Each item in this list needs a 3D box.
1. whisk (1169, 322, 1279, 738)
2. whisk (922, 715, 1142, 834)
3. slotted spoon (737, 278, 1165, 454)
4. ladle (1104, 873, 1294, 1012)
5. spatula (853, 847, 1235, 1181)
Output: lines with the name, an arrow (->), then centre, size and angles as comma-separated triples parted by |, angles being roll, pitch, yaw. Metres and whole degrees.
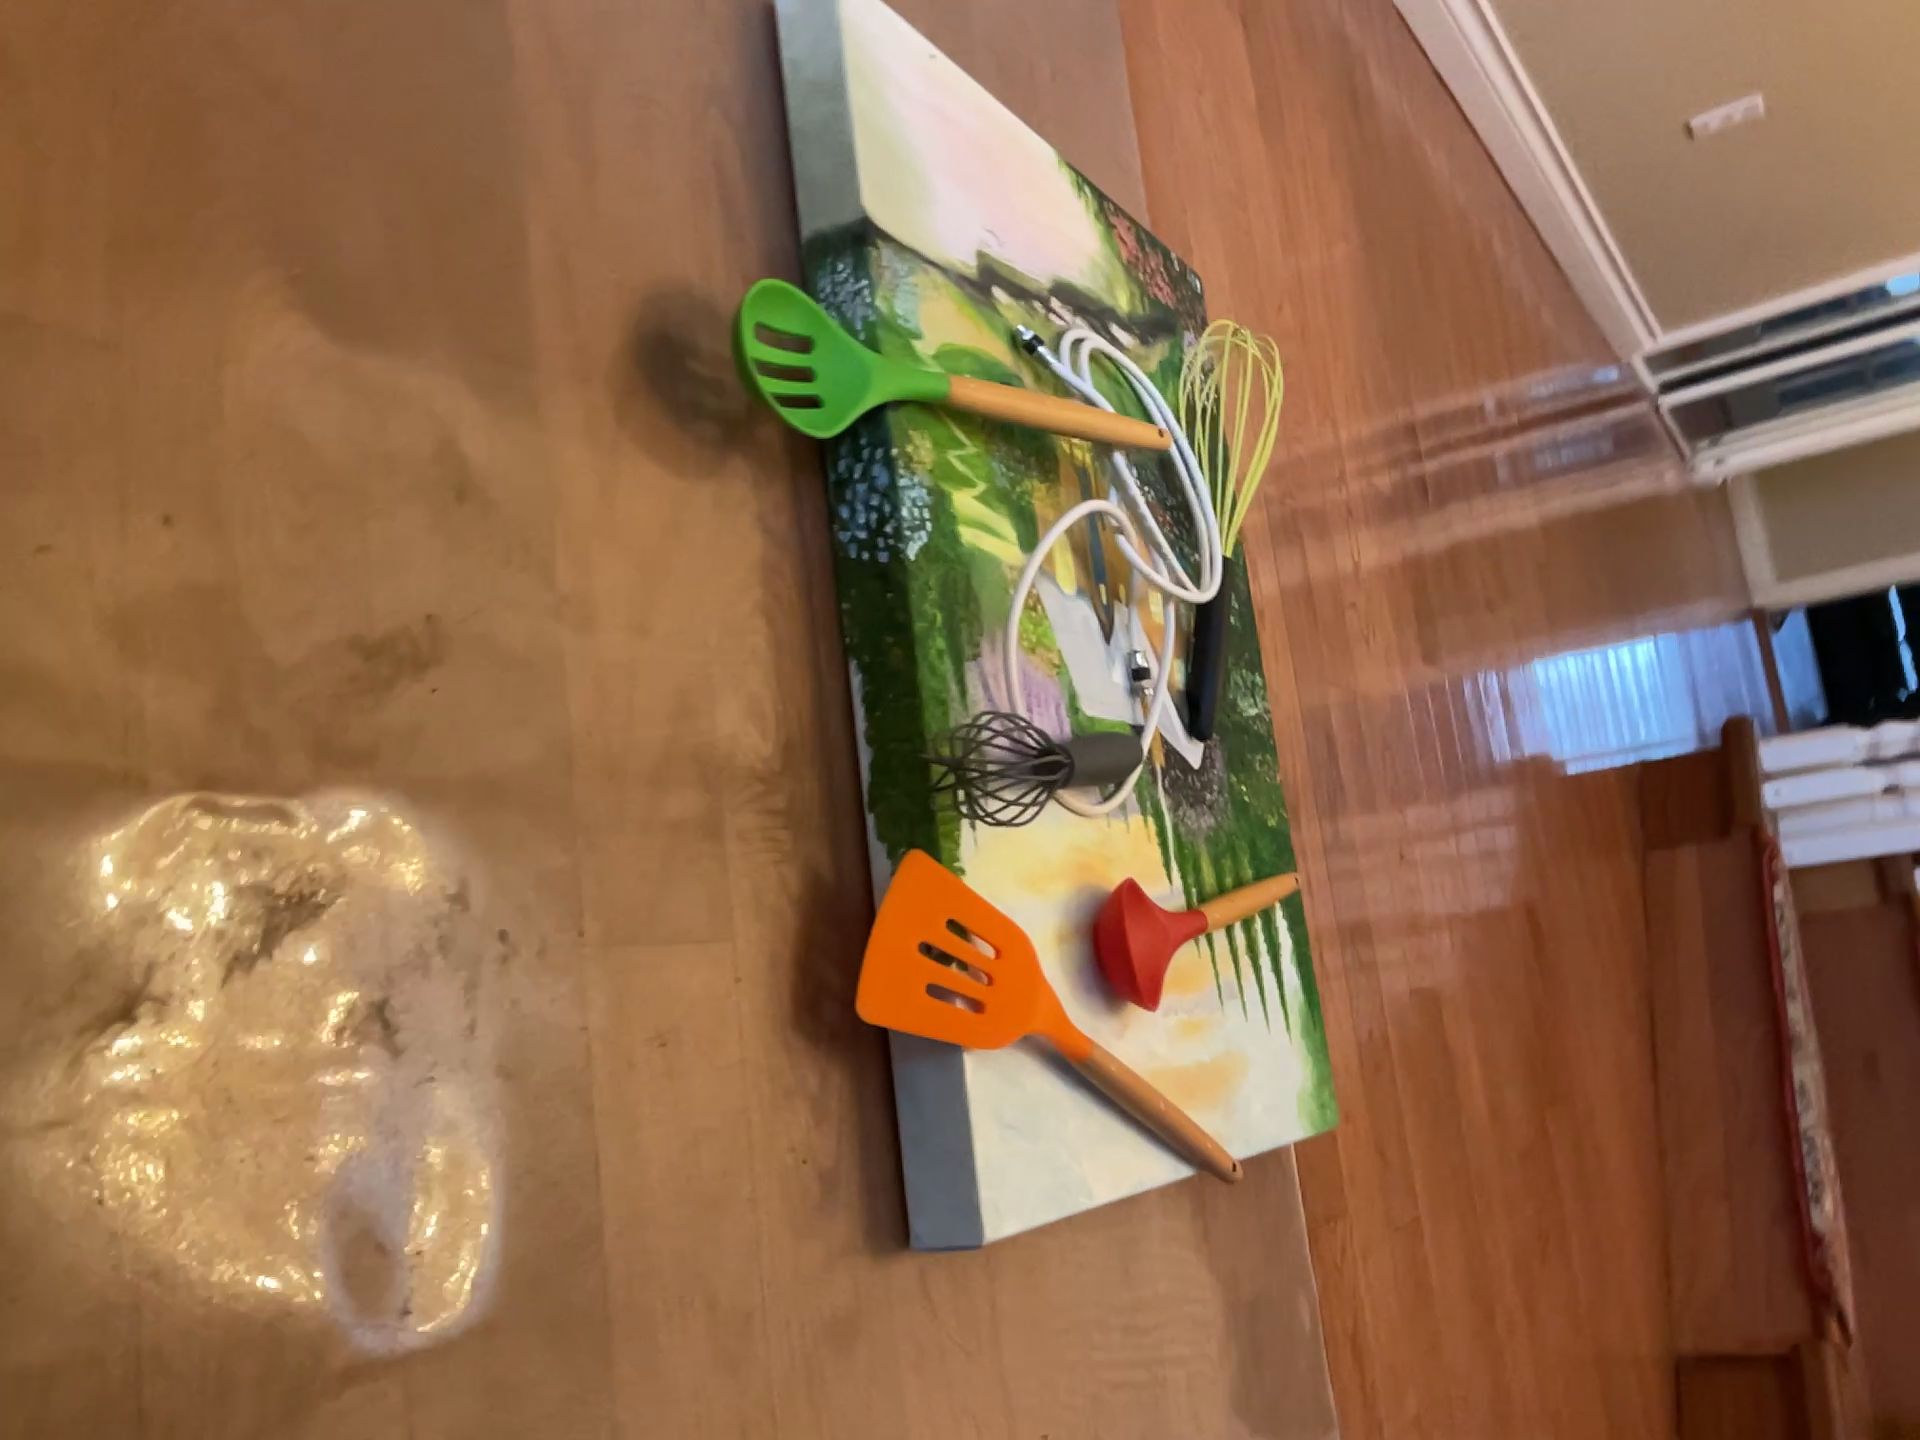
whisk -> 0.168, -0.132, 1.044 | 0.079, 0.067, 0.312 | 32, 57, -44
whisk -> 0.047, 0.021, 0.777 | 0.239, 0.055, 0.055 | -3, 91, -66
slotted spoon -> 0.007, -0.158, 0.789 | 0.313, 0.031, 0.070 | 1, 76, -47
ladle -> 0.147, 0.113, 0.926 | 0.315, 0.031, 0.069 | -4, 83, -63
spatula -> 0.059, 0.168, 0.774 | 0.322, 0.041, 0.081 | 46, 53, -44
